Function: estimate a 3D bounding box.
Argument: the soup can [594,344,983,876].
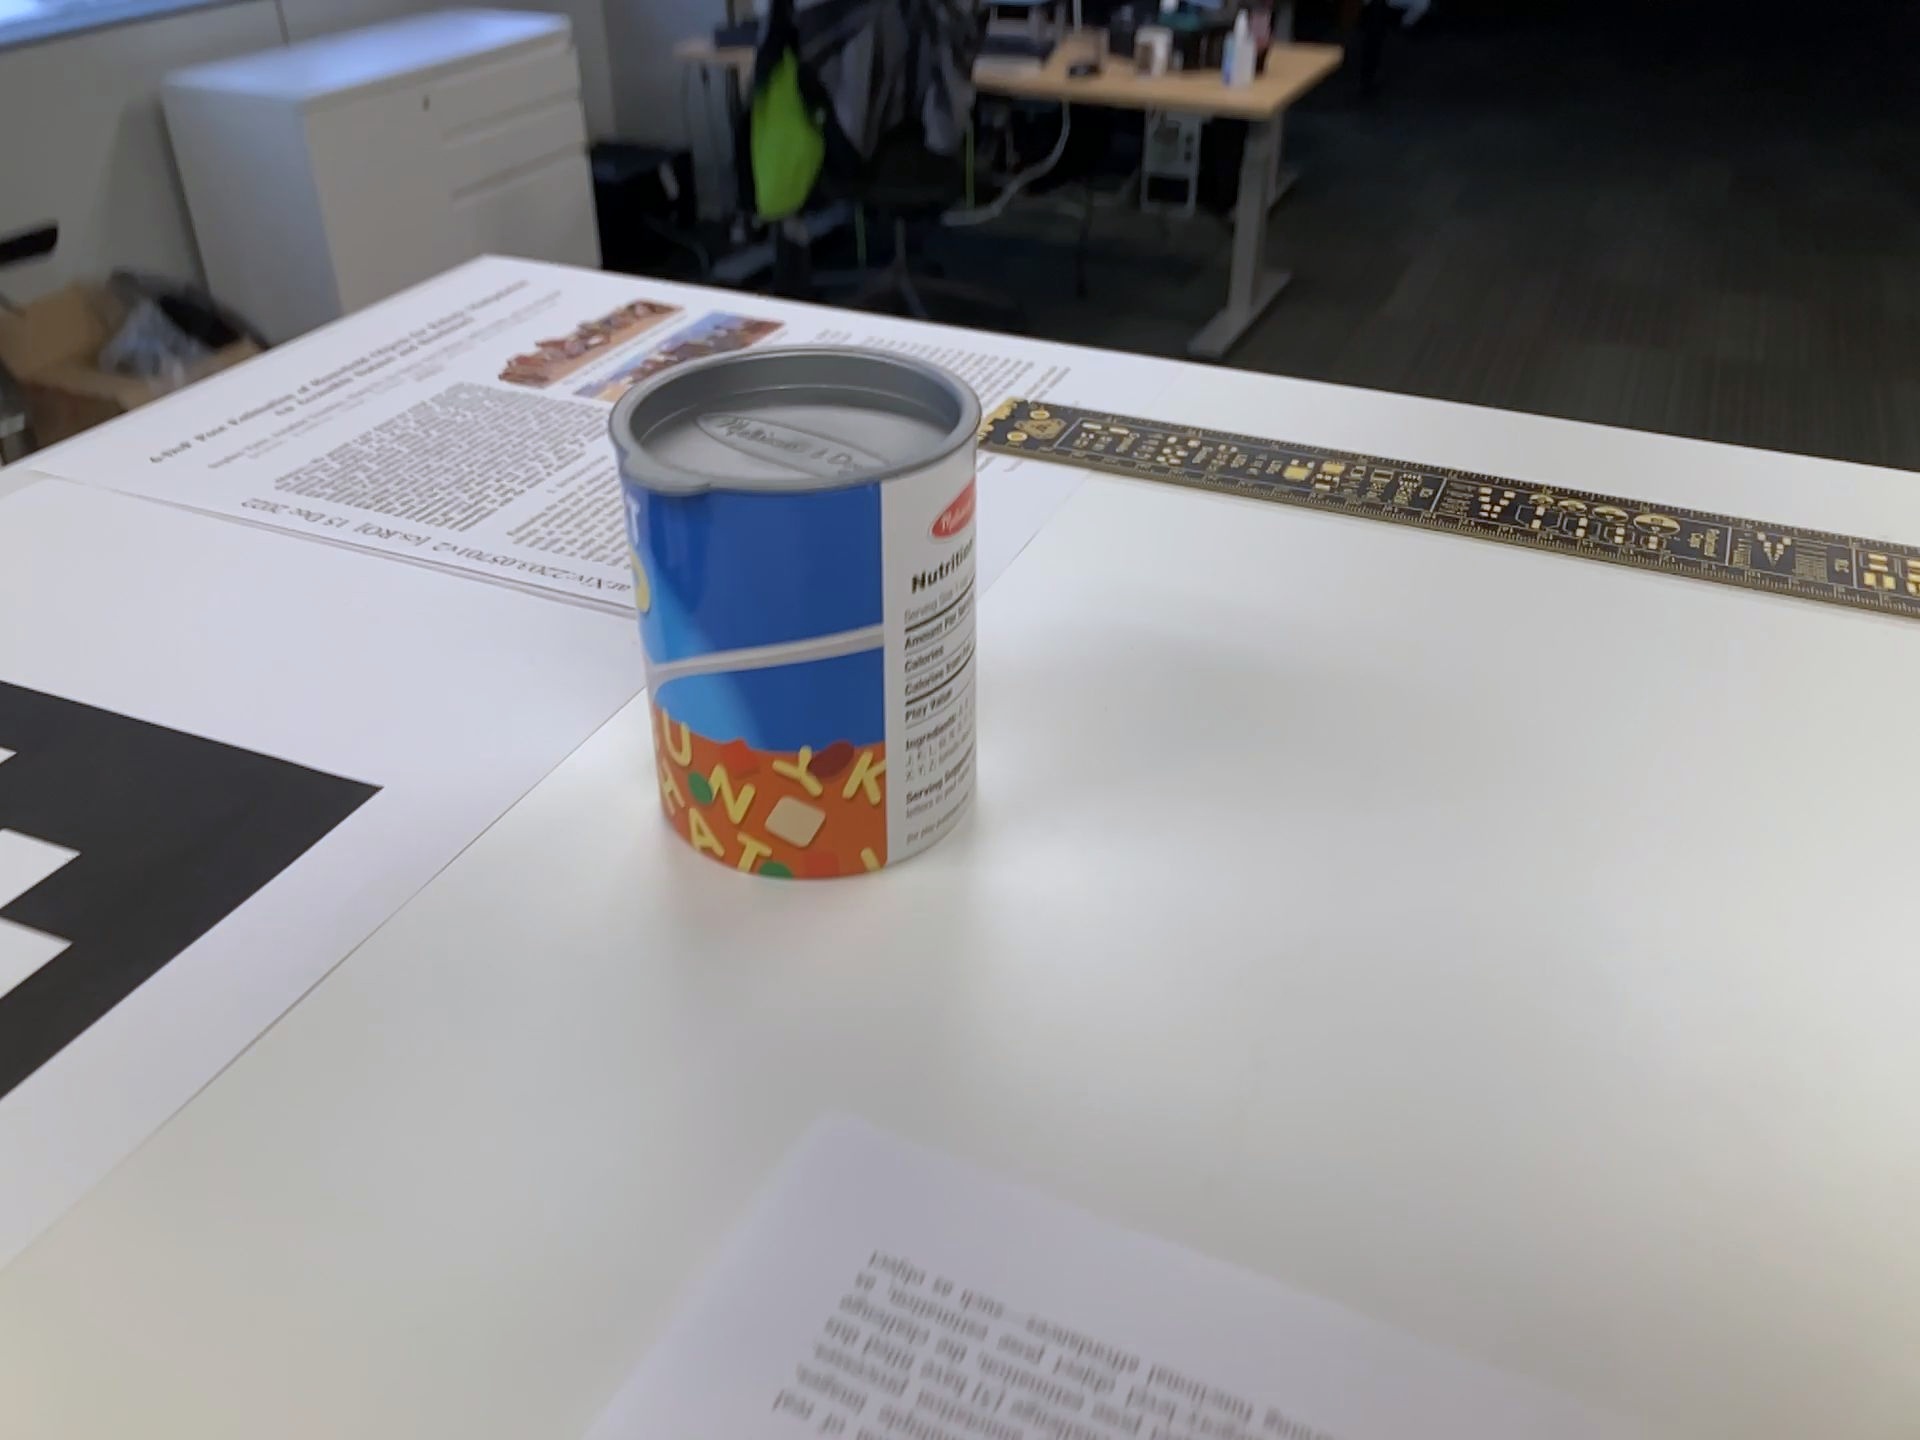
[{"bbox_3d":[-0.032,-0.022,0.309,0.071,0.084,0.071,0,33,0],"label":"soup can"}]
